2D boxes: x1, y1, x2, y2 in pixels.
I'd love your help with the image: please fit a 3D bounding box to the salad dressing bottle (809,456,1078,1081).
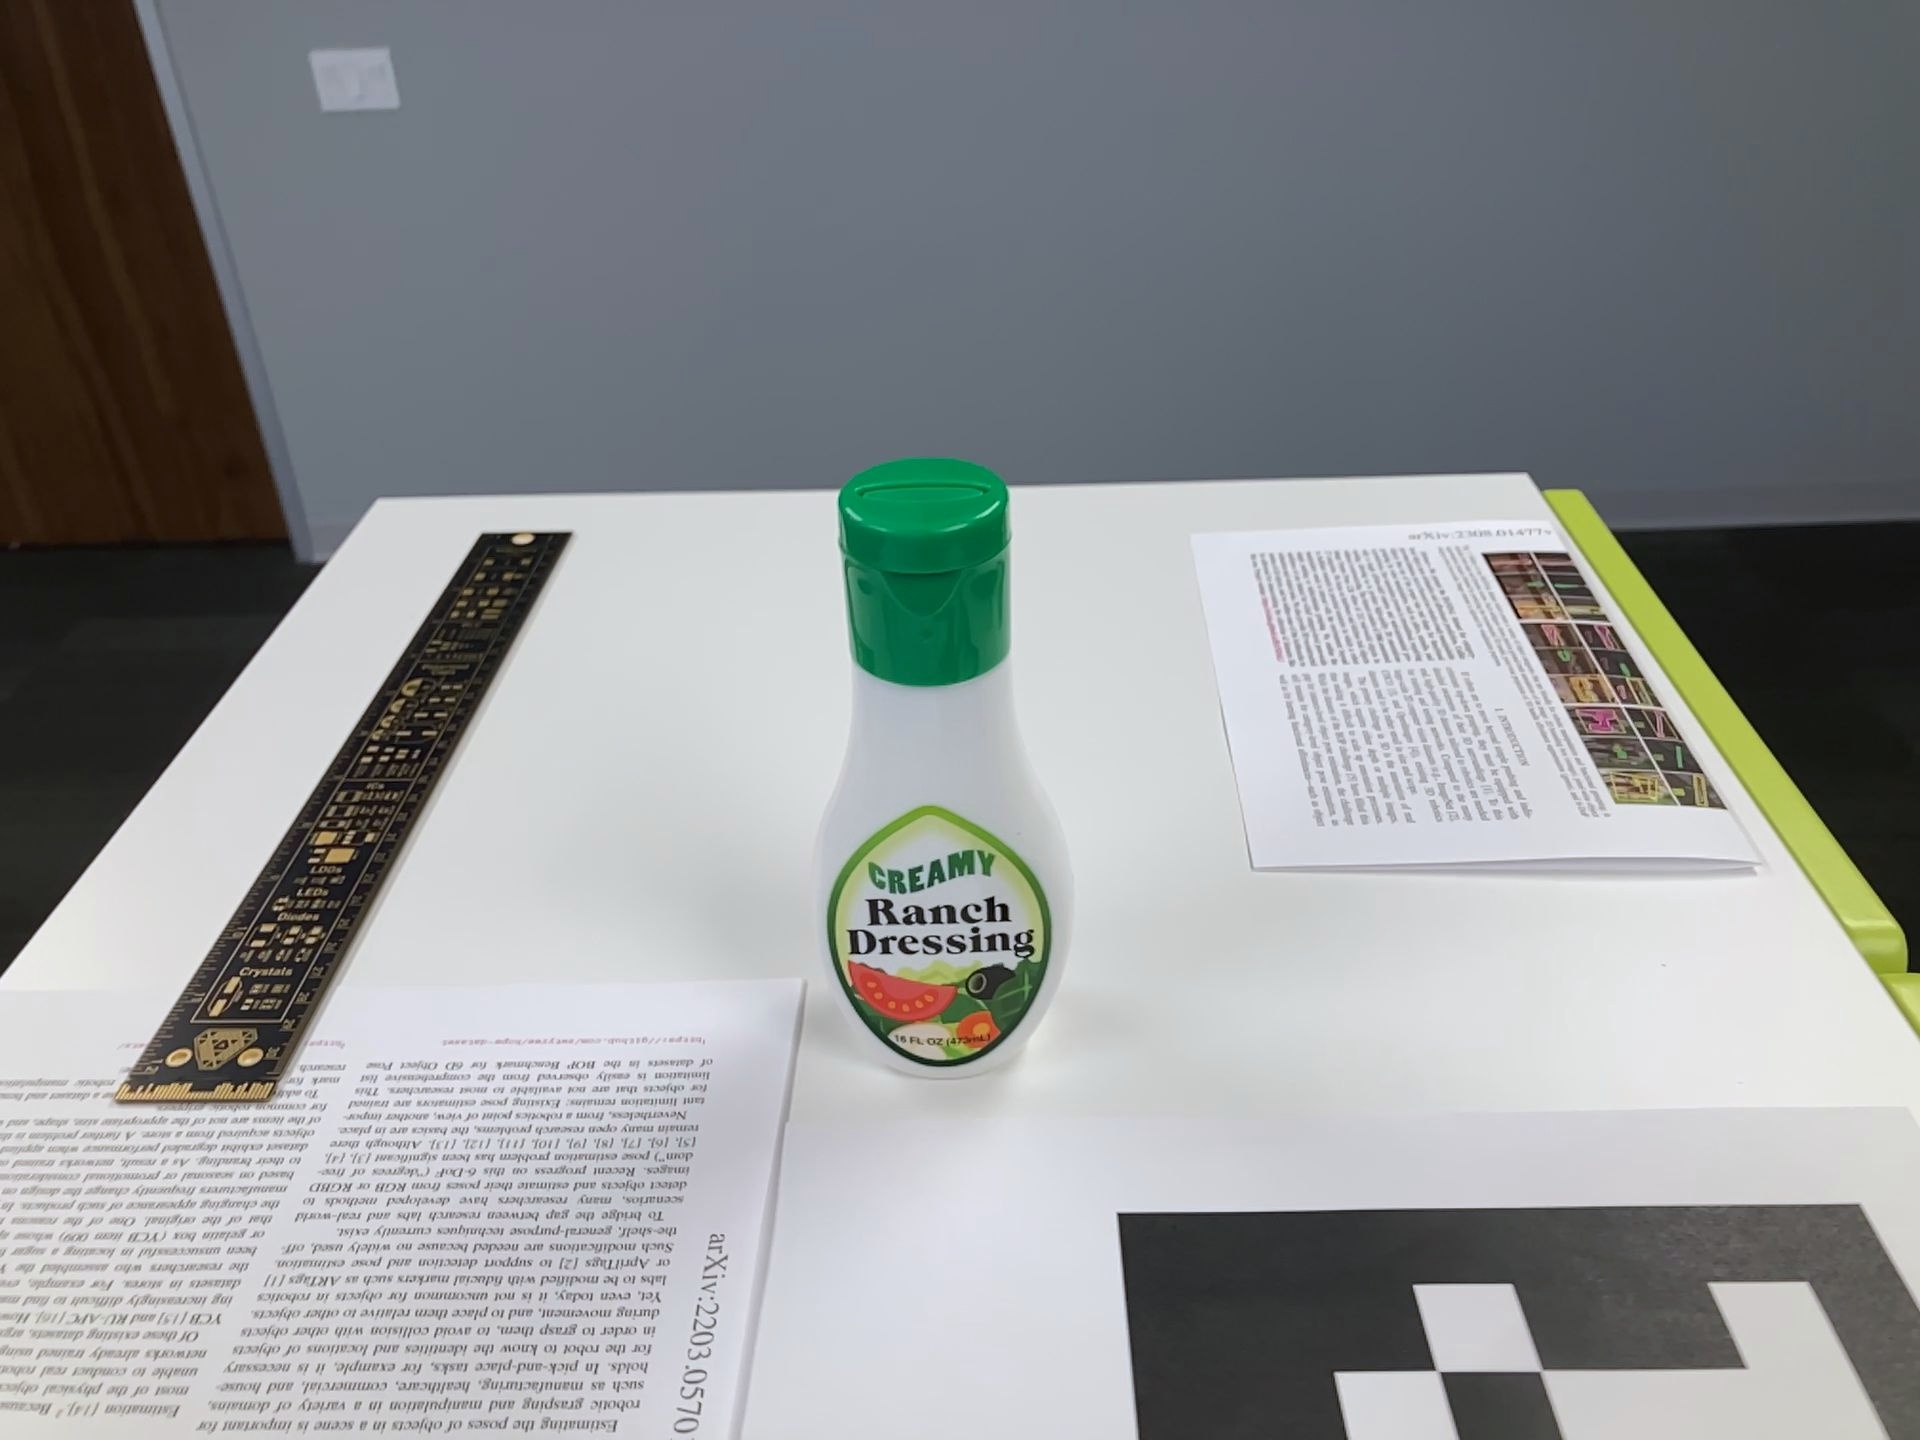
[{"bbox_3d":[-0.005,0.015,0.364,0.064,0.147,0.044,-1,32,3],"label":"salad dressing bottle"}]
